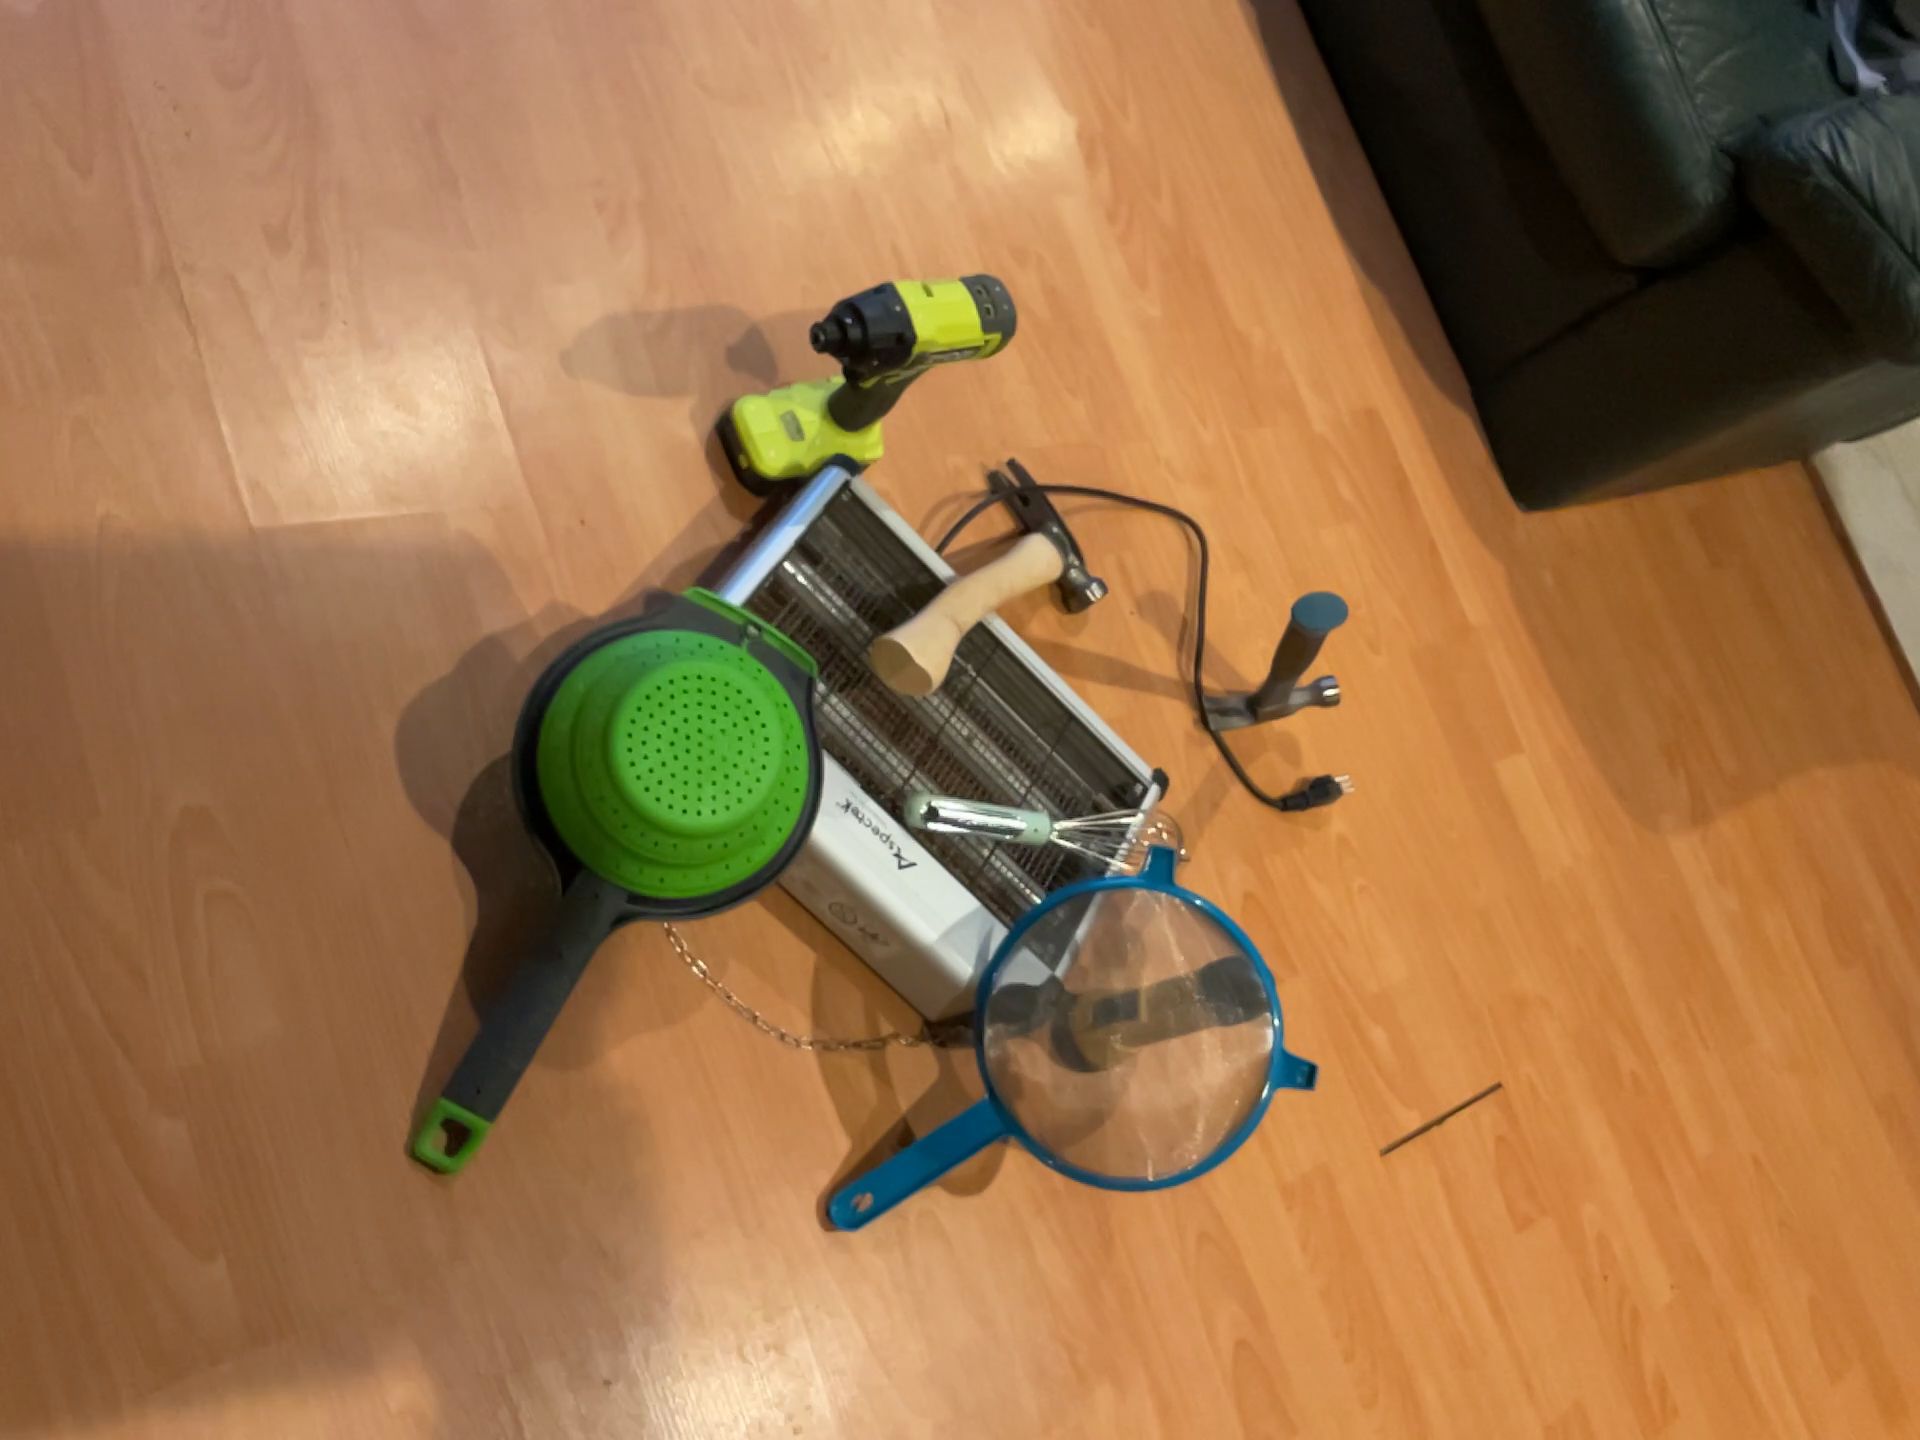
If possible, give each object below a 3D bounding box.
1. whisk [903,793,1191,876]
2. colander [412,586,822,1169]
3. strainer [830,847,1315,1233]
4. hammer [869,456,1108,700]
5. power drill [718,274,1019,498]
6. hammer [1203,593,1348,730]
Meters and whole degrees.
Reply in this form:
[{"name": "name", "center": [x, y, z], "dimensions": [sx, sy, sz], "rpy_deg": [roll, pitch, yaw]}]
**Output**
[{"name": "whisk", "center": [0.068, 0.083, 1.179], "dimensions": [0.246, 0.059, 0.057], "rpy_deg": [11, 94, -29]}, {"name": "colander", "center": [-0.211, 0.091, 0.984], "dimensions": [0.204, 0.094, 0.397], "rpy_deg": [33, 71, -13]}, {"name": "strainer", "center": [0.058, 0.240, 1.061], "dimensions": [0.340, 0.095, 0.211], "rpy_deg": [-32, 79, -6]}, {"name": "hammer", "center": [0.015, -0.106, 1.233], "dimensions": [0.146, 0.038, 0.411], "rpy_deg": [56, 26, -4]}, {"name": "power drill", "center": [-0.082, -0.253, 1.203], "dimensions": [0.171, 0.223, 0.080], "rpy_deg": [-19, 82, -40]}, {"name": "hammer", "center": [0.277, -0.046, 1.342], "dimensions": [0.128, 0.331, 0.033], "rpy_deg": [-15, 77, 1]}]
